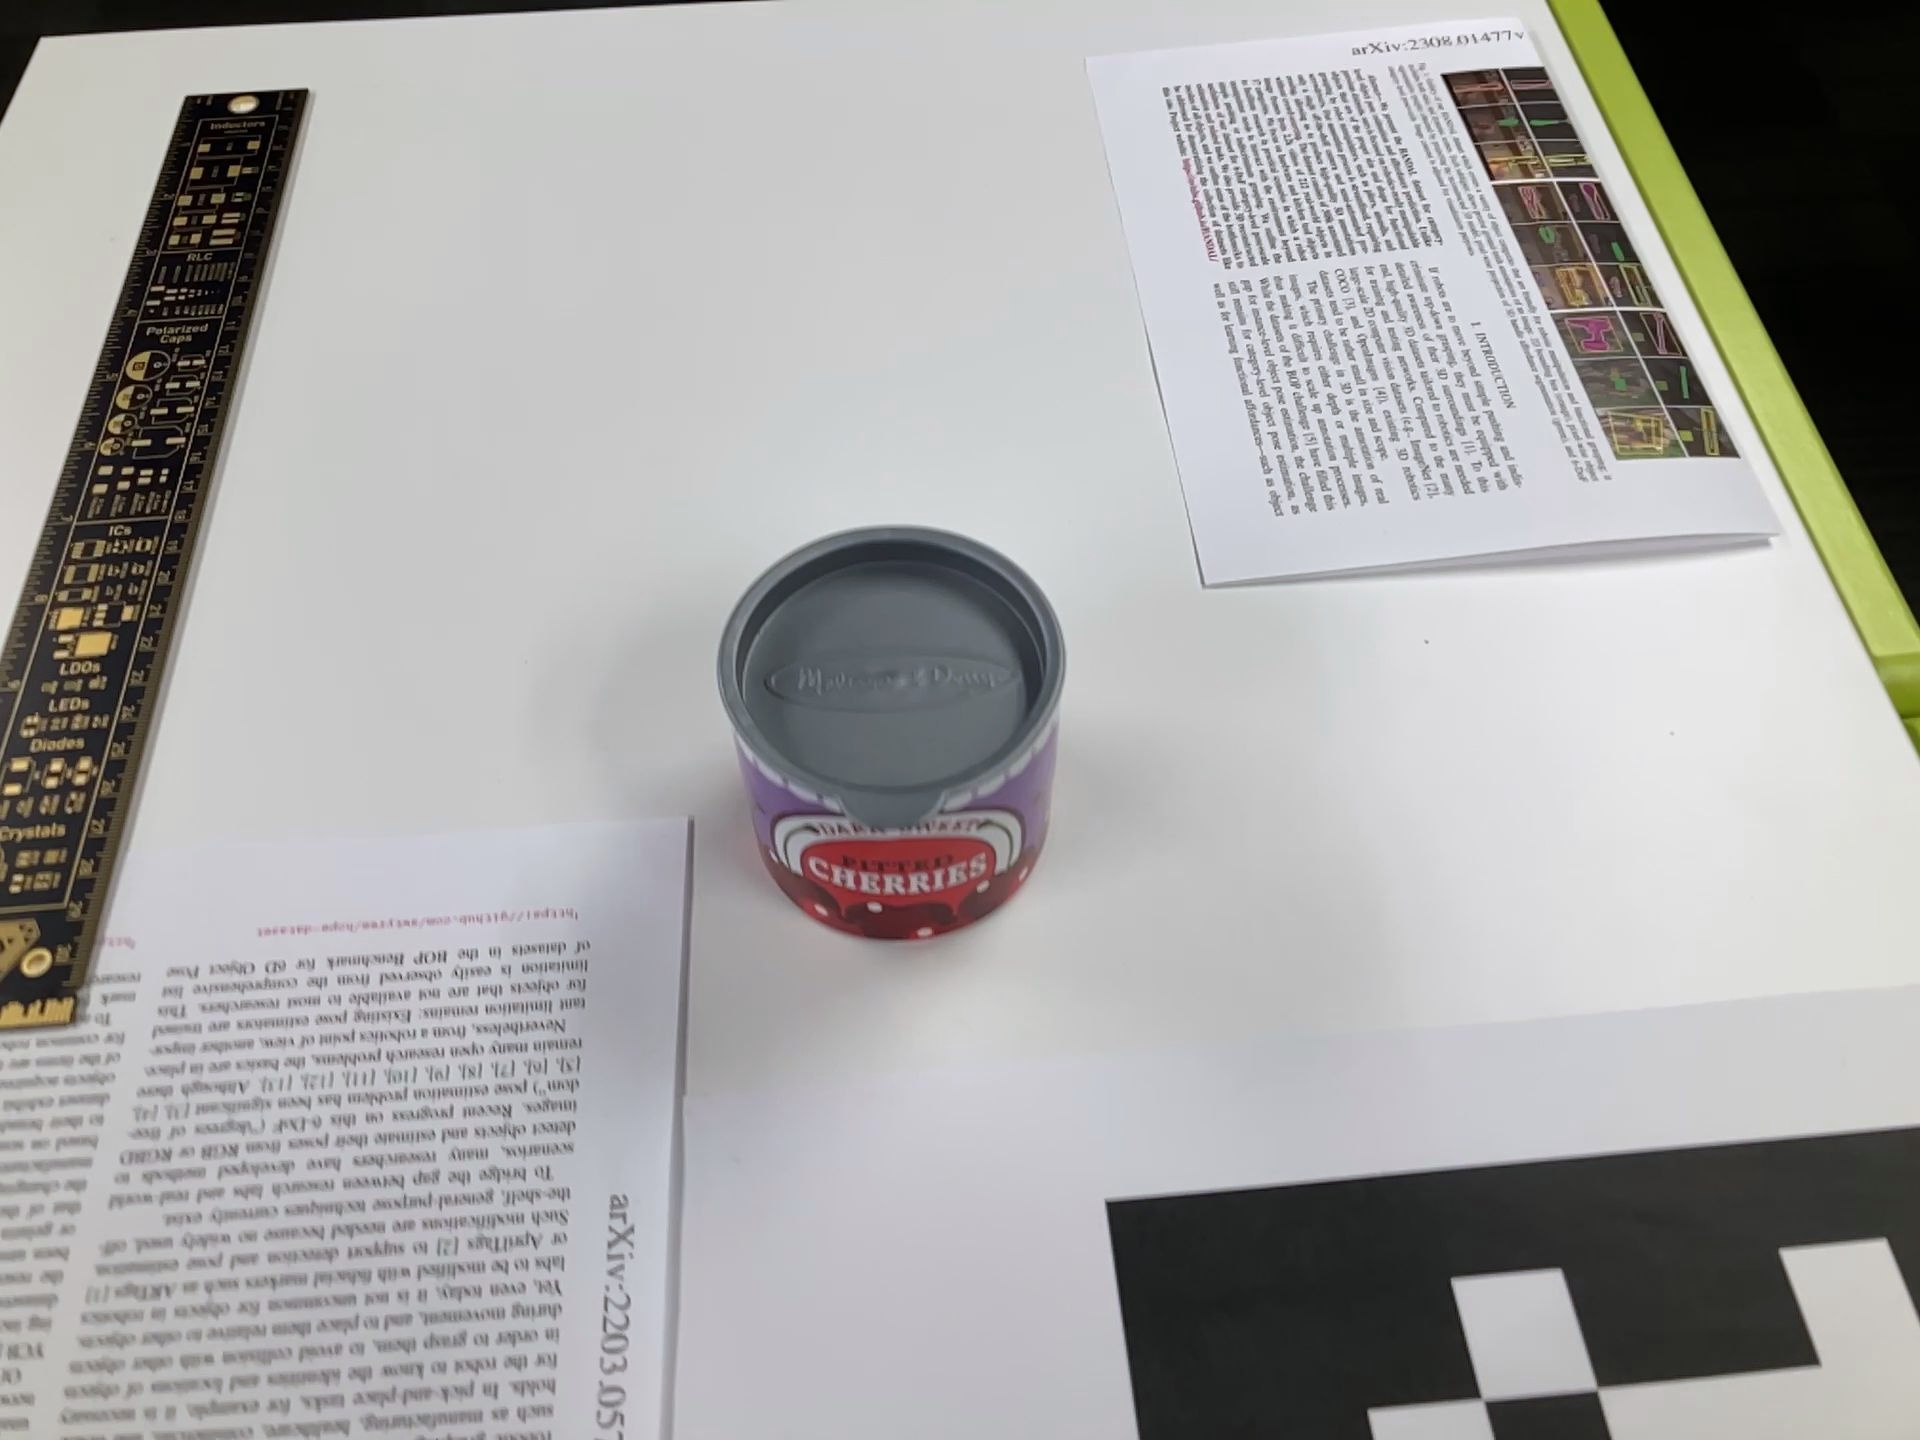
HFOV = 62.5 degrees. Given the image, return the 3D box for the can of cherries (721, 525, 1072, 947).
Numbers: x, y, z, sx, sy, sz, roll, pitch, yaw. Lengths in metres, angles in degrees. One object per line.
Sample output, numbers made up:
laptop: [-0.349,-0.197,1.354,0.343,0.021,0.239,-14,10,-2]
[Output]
can of cherries: [-0.012,0.006,0.321,0.071,0.058,0.071,0,55,0]
